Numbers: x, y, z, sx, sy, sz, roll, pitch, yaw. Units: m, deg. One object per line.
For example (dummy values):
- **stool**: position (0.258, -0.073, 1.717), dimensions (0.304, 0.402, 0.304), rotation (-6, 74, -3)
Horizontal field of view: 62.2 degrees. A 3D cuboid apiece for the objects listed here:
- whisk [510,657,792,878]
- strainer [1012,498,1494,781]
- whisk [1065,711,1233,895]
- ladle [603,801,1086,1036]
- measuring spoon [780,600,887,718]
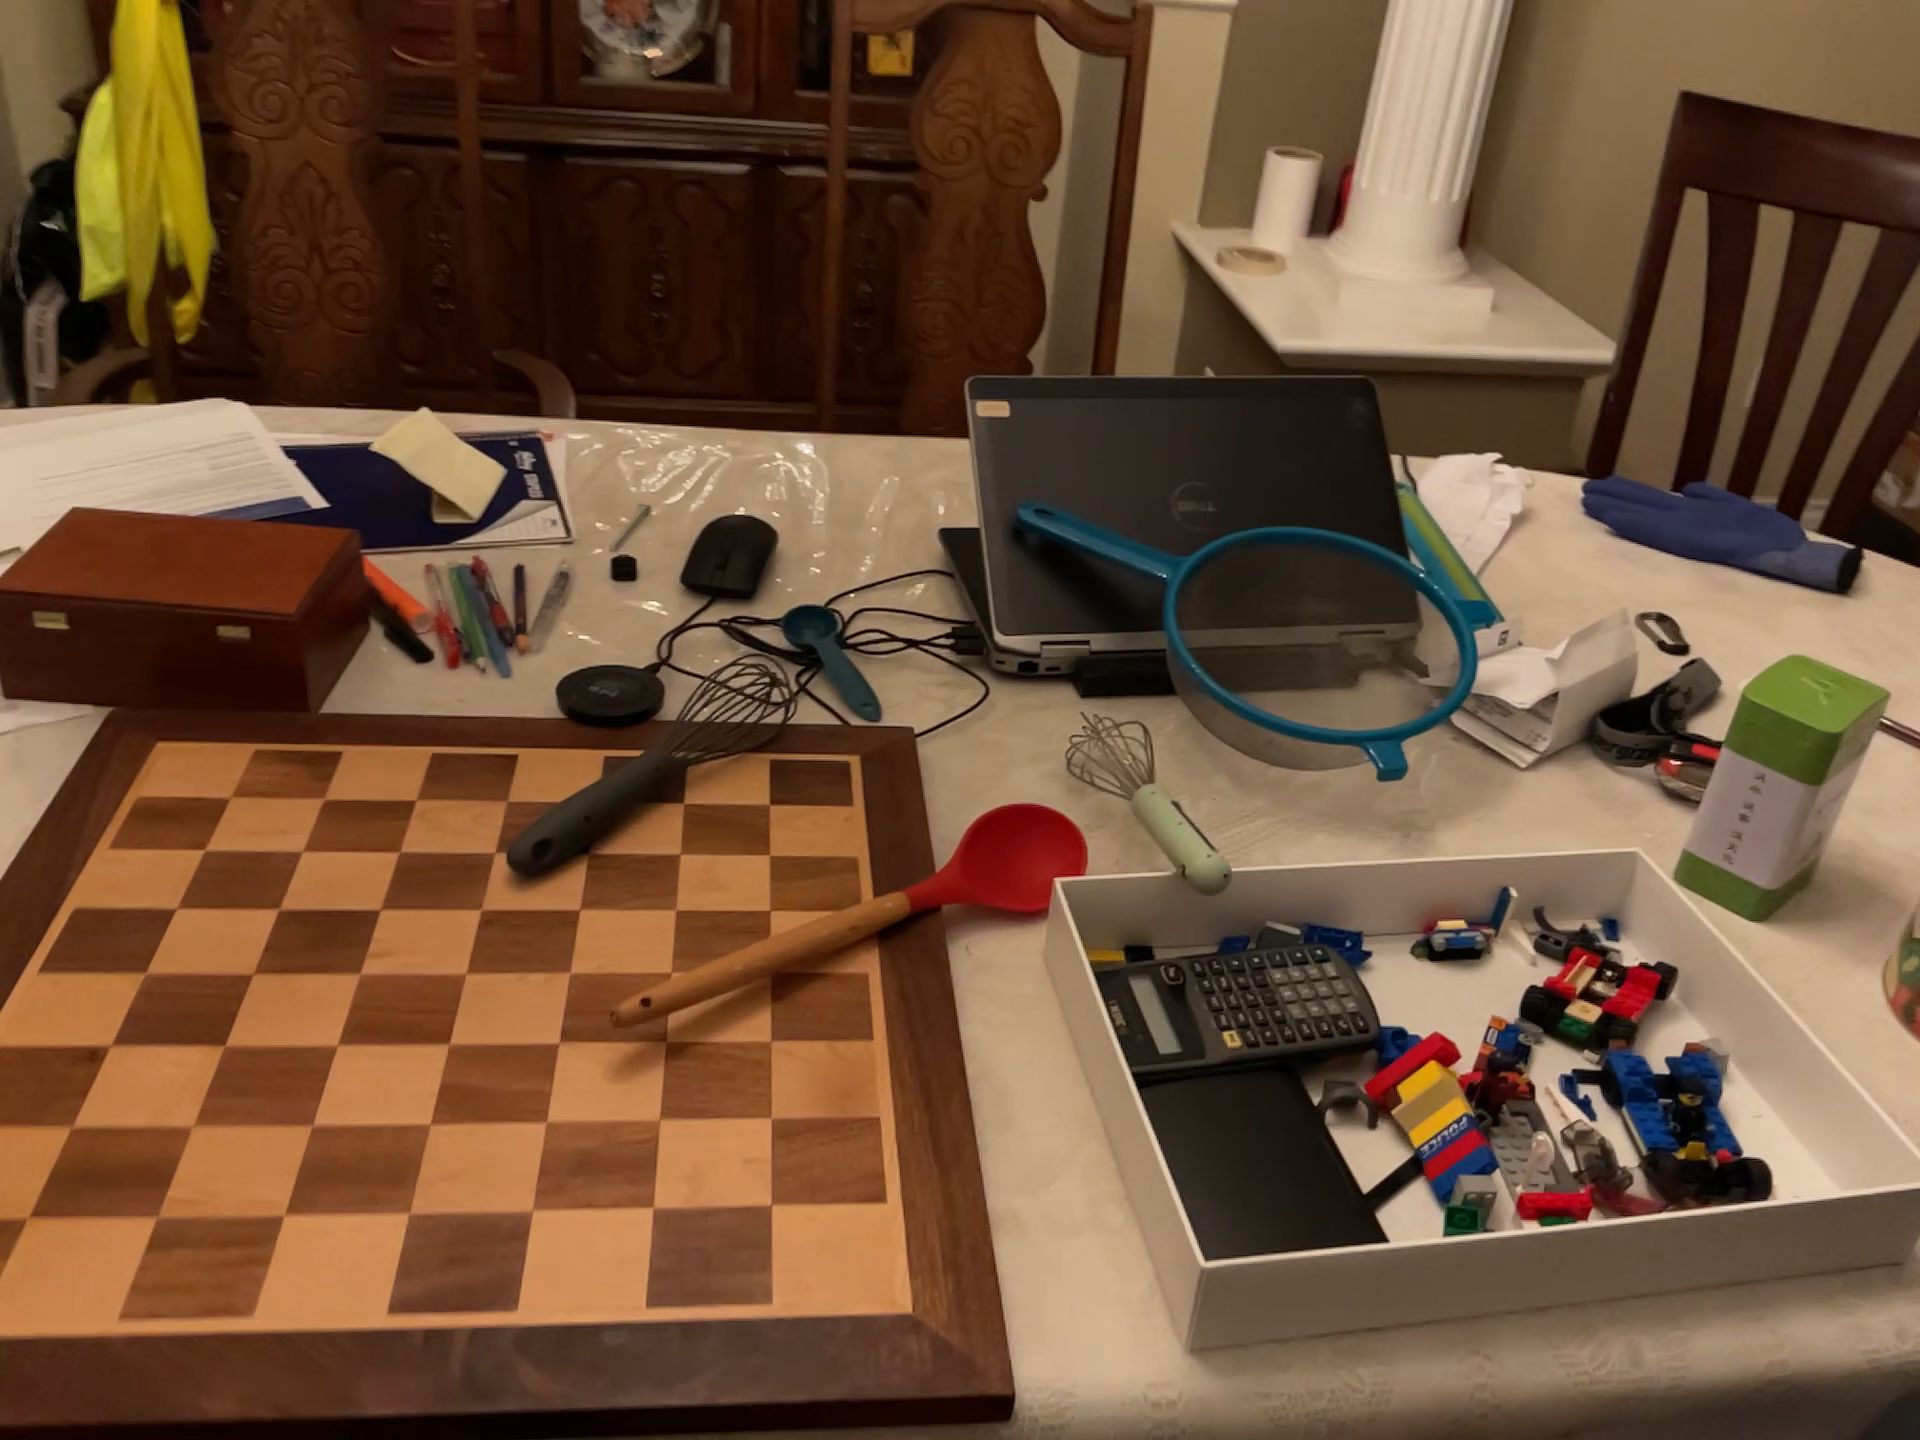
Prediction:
- **whisk**: position (-0.179, 0.026, 0.950), dimensions (0.055, 0.055, 0.239), rotation (10, 33, 33)
- **strainer**: position (0.183, -0.060, 1.116), dimensions (0.340, 0.095, 0.211), rotation (25, 49, 20)
- **whisk**: position (0.112, 0.046, 0.950), dimensions (0.059, 0.057, 0.246), rotation (-30, 22, -1)
- **ladle**: position (-0.051, 0.108, 0.849), dimensions (0.315, 0.031, 0.069), rotation (-18, 60, -41)
- **measuring spoon**: position (-0.086, -0.038, 1.123), dimensions (0.042, 0.021, 0.129), rotation (-21, 52, -24)
